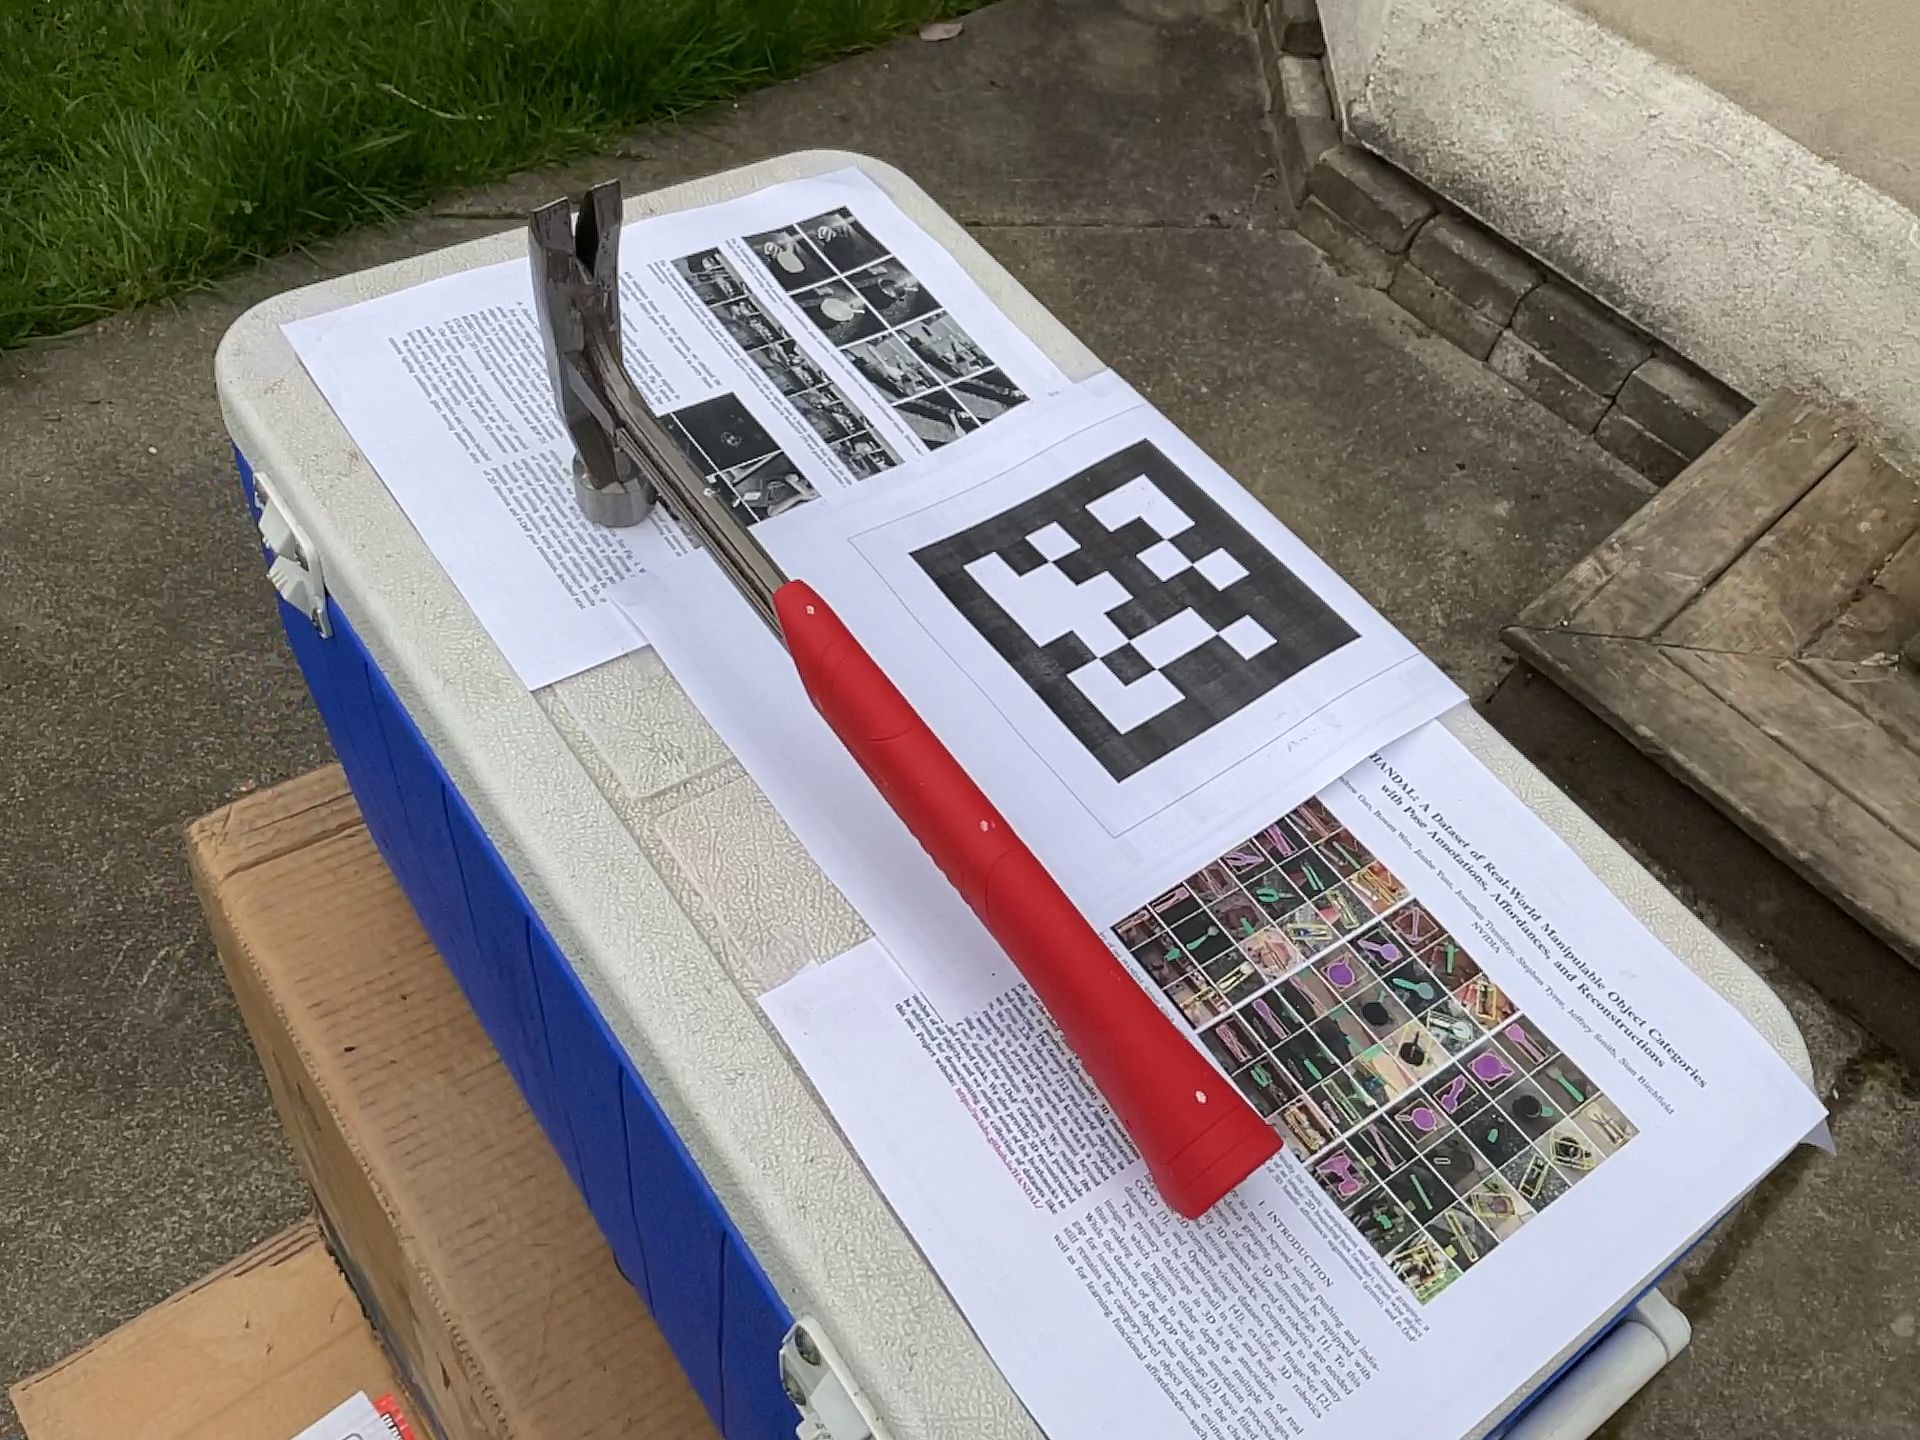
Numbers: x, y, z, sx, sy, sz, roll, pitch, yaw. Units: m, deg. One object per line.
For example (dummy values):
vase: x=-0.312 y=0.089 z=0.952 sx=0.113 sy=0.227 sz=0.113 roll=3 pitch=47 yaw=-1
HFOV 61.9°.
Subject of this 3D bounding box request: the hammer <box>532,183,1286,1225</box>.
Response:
hammer: x=-0.027 y=-0.003 z=0.505 sx=0.036 sy=0.149 sz=0.359 roll=-31 pitch=69 yaw=-23
